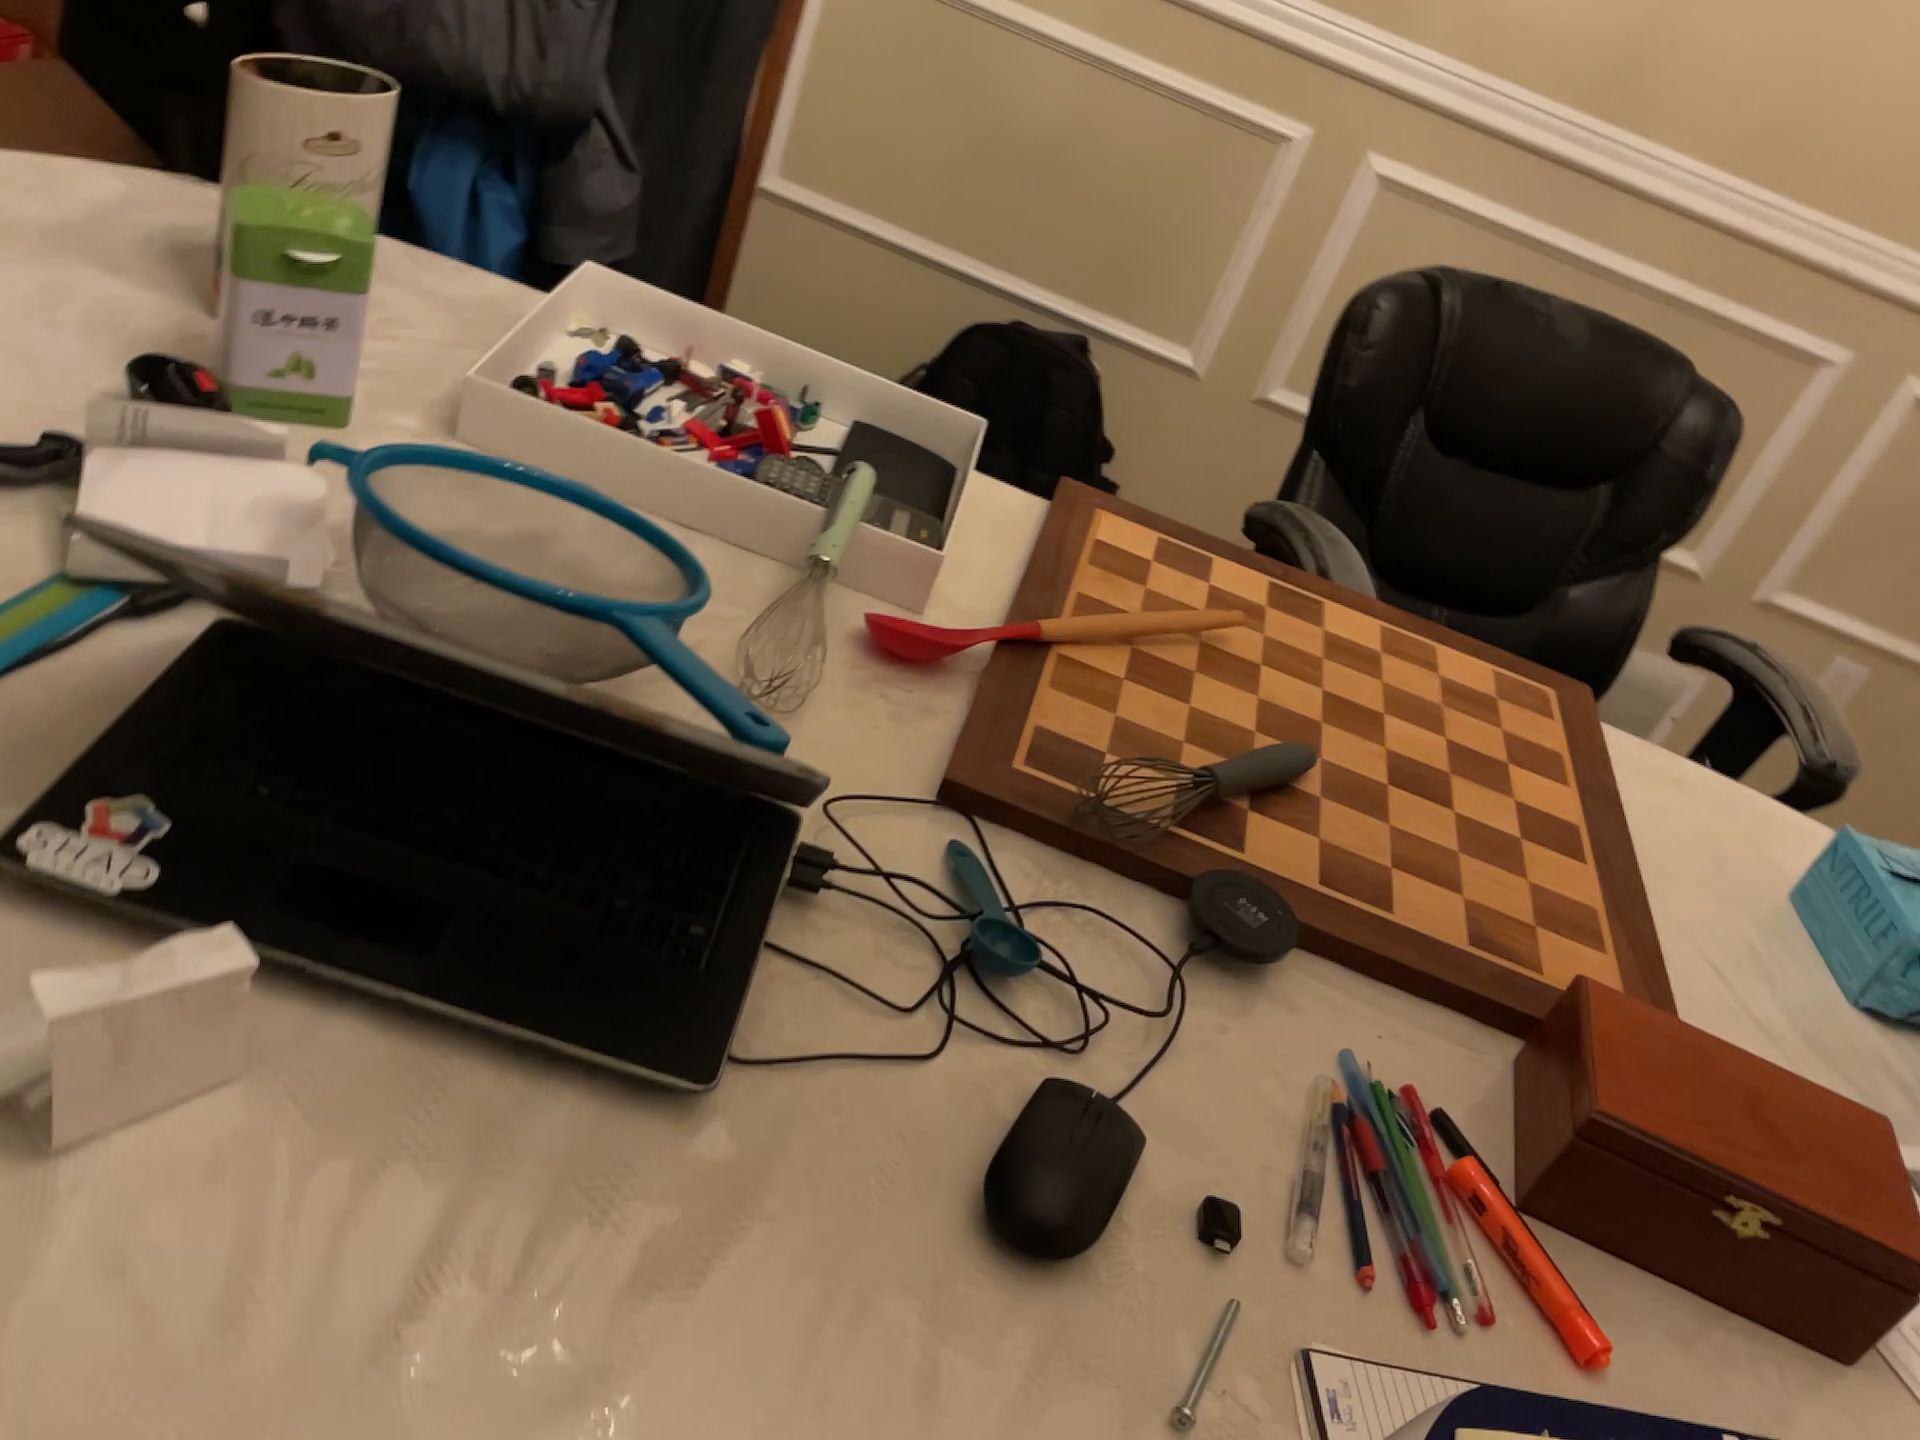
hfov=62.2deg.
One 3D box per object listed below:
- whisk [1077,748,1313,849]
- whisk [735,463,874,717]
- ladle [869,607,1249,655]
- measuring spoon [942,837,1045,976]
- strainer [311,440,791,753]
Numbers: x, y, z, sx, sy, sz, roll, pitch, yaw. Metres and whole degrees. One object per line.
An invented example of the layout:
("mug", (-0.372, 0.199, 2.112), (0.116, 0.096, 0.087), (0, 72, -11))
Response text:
("whisk", (0.159, 0.043, 1.028), (0.238, 0.055, 0.055), (-8, 57, -44))
("whisk", (-0.097, -0.094, 1.057), (0.059, 0.058, 0.246), (43, 41, -25))
("ladle", (0.080, -0.067, 1.150), (0.315, 0.031, 0.069), (-4, 19, -27))
("measuring spoon", (0.010, 0.106, 0.900), (0.042, 0.021, 0.129), (15, 21, -26))
("strainer", (-0.216, -0.041, 0.893), (0.341, 0.095, 0.210), (39, 23, 32))
